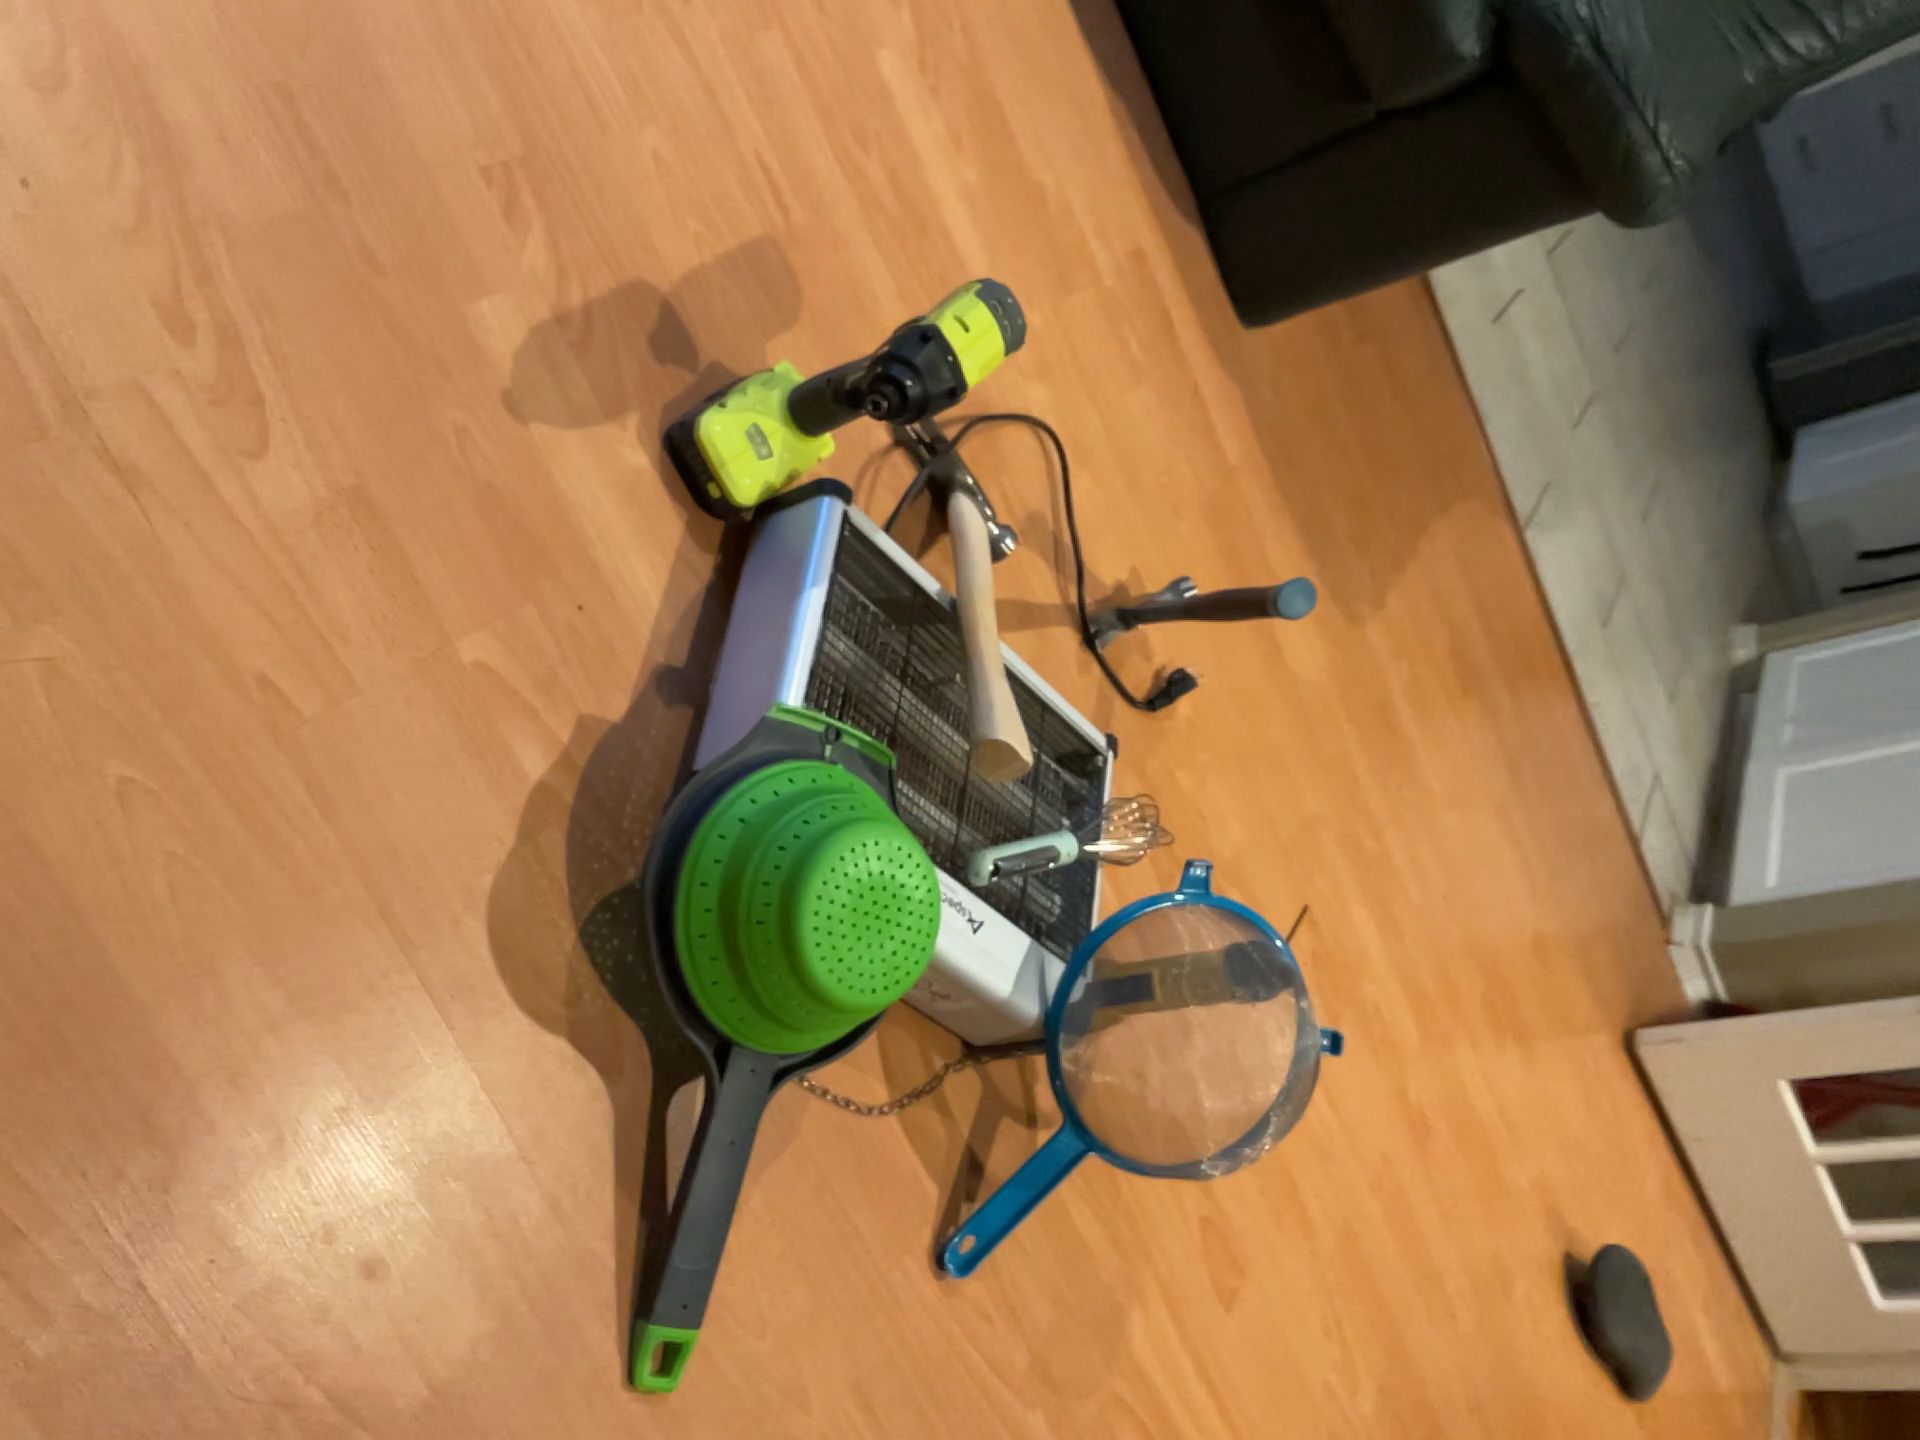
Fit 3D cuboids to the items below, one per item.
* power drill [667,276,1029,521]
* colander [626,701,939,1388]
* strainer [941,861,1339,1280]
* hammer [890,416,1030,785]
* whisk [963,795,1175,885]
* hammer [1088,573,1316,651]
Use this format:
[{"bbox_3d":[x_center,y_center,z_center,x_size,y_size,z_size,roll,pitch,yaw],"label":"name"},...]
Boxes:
[{"bbox_3d":[-0.080,-0.213,1.069,0.080,0.223,0.171,62,37,-17],"label":"power drill"},{"bbox_3d":[-0.101,0.187,0.920,0.204,0.094,0.397,26,73,-39],"label":"colander"},{"bbox_3d":[0.126,0.274,1.124,0.340,0.095,0.211,-42,104,-14],"label":"strainer"},{"bbox_3d":[0.005,-0.093,1.169,0.146,0.038,0.411,53,16,-29],"label":"hammer"},{"bbox_3d":[0.083,0.094,1.191,0.246,0.059,0.057,-7,112,-52],"label":"whisk"},{"bbox_3d":[0.209,-0.098,1.376,0.128,0.331,0.033,-23,98,-15],"label":"hammer"}]
